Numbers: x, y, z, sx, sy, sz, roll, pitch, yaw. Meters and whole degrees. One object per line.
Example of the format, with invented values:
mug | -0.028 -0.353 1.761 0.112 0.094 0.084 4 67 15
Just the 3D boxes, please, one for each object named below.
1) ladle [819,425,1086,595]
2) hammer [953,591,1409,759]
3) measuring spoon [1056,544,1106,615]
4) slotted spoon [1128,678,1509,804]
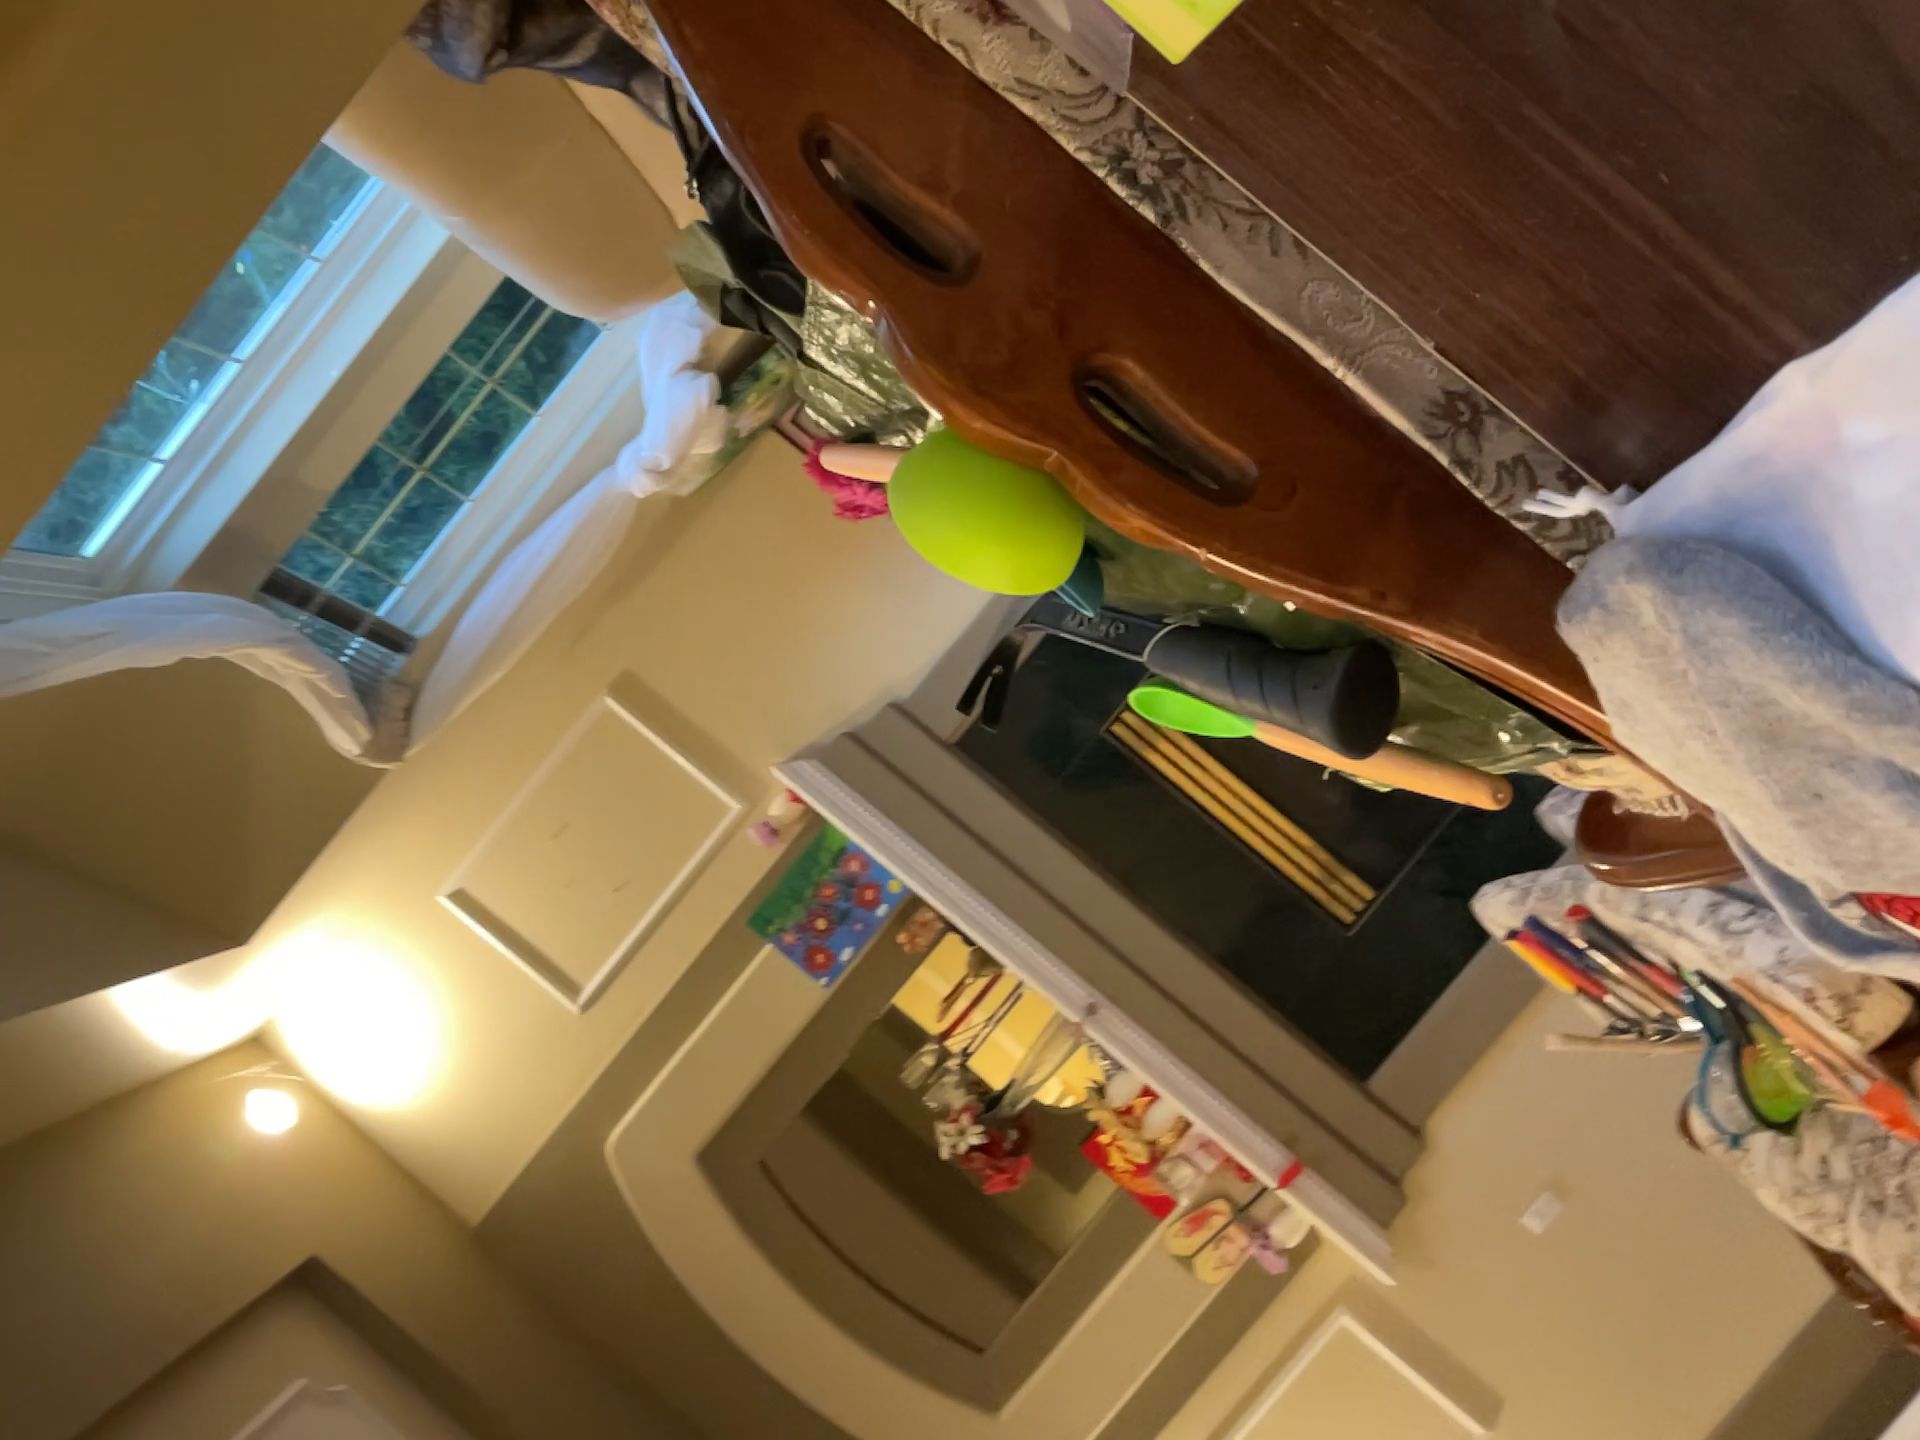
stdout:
ladle | -0.026 -0.104 0.715 0.078 0.062 0.320 12 -173 -19
hammer | 0.093 -0.034 0.776 0.036 0.149 0.409 29 180 -19
measuring spoon | 0.028 -0.085 0.721 0.042 0.021 0.129 40 -178 -40
slotted spoon | 0.164 0.008 0.766 0.070 0.031 0.314 23 180 -19
